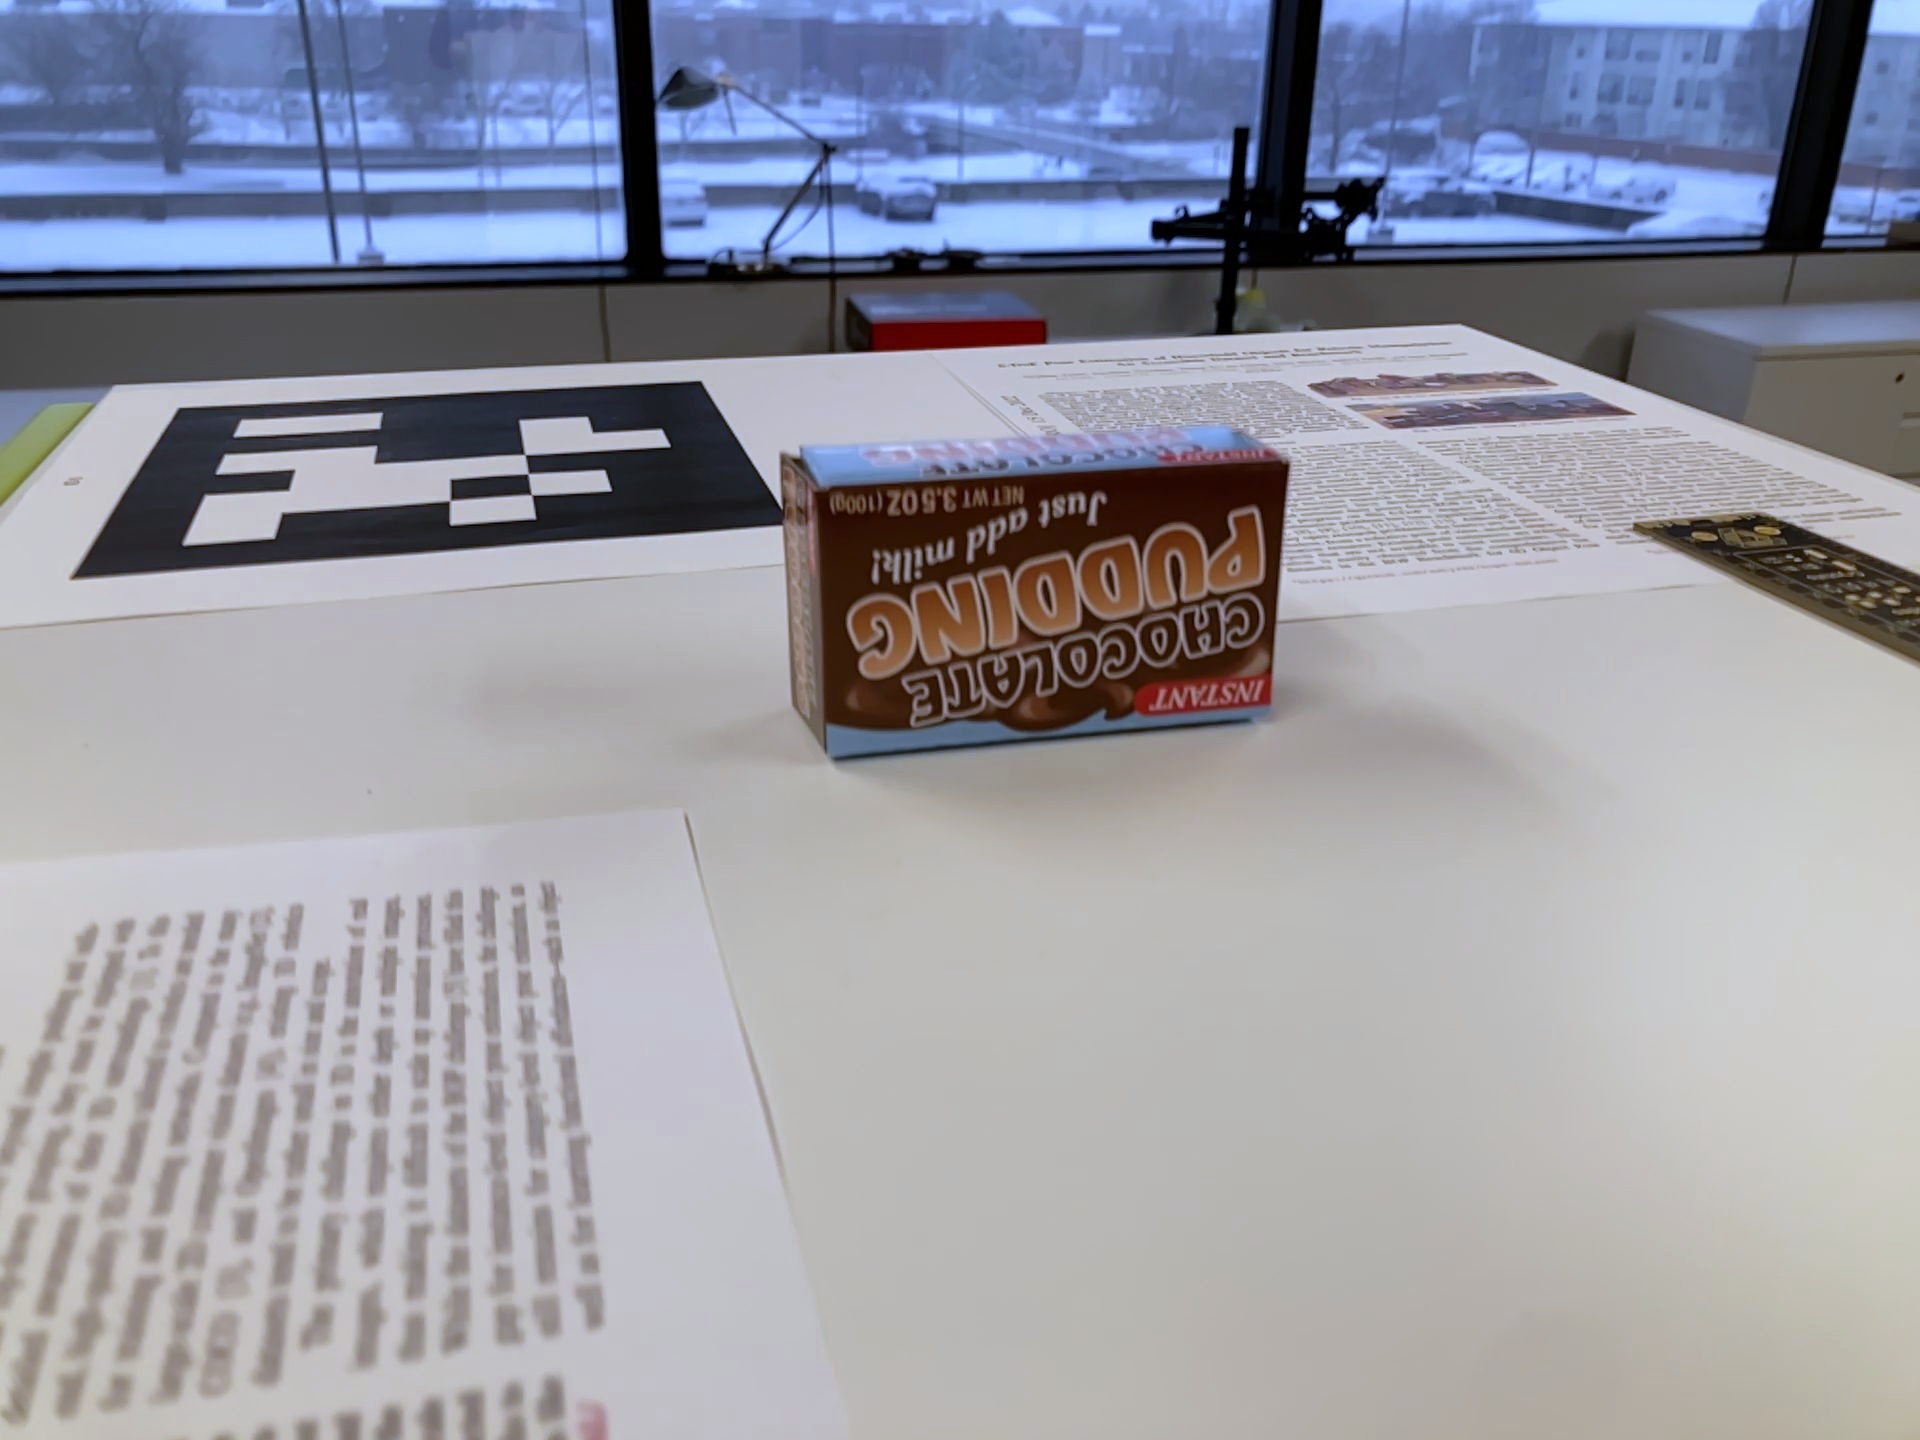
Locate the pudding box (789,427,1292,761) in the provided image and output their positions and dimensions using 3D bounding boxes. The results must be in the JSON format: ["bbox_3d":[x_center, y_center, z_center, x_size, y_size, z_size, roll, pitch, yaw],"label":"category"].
[{"bbox_3d":[0.014,-0.023,0.282,0.083,0.049,0.030,-5,22,-13],"label":"pudding box"}]
